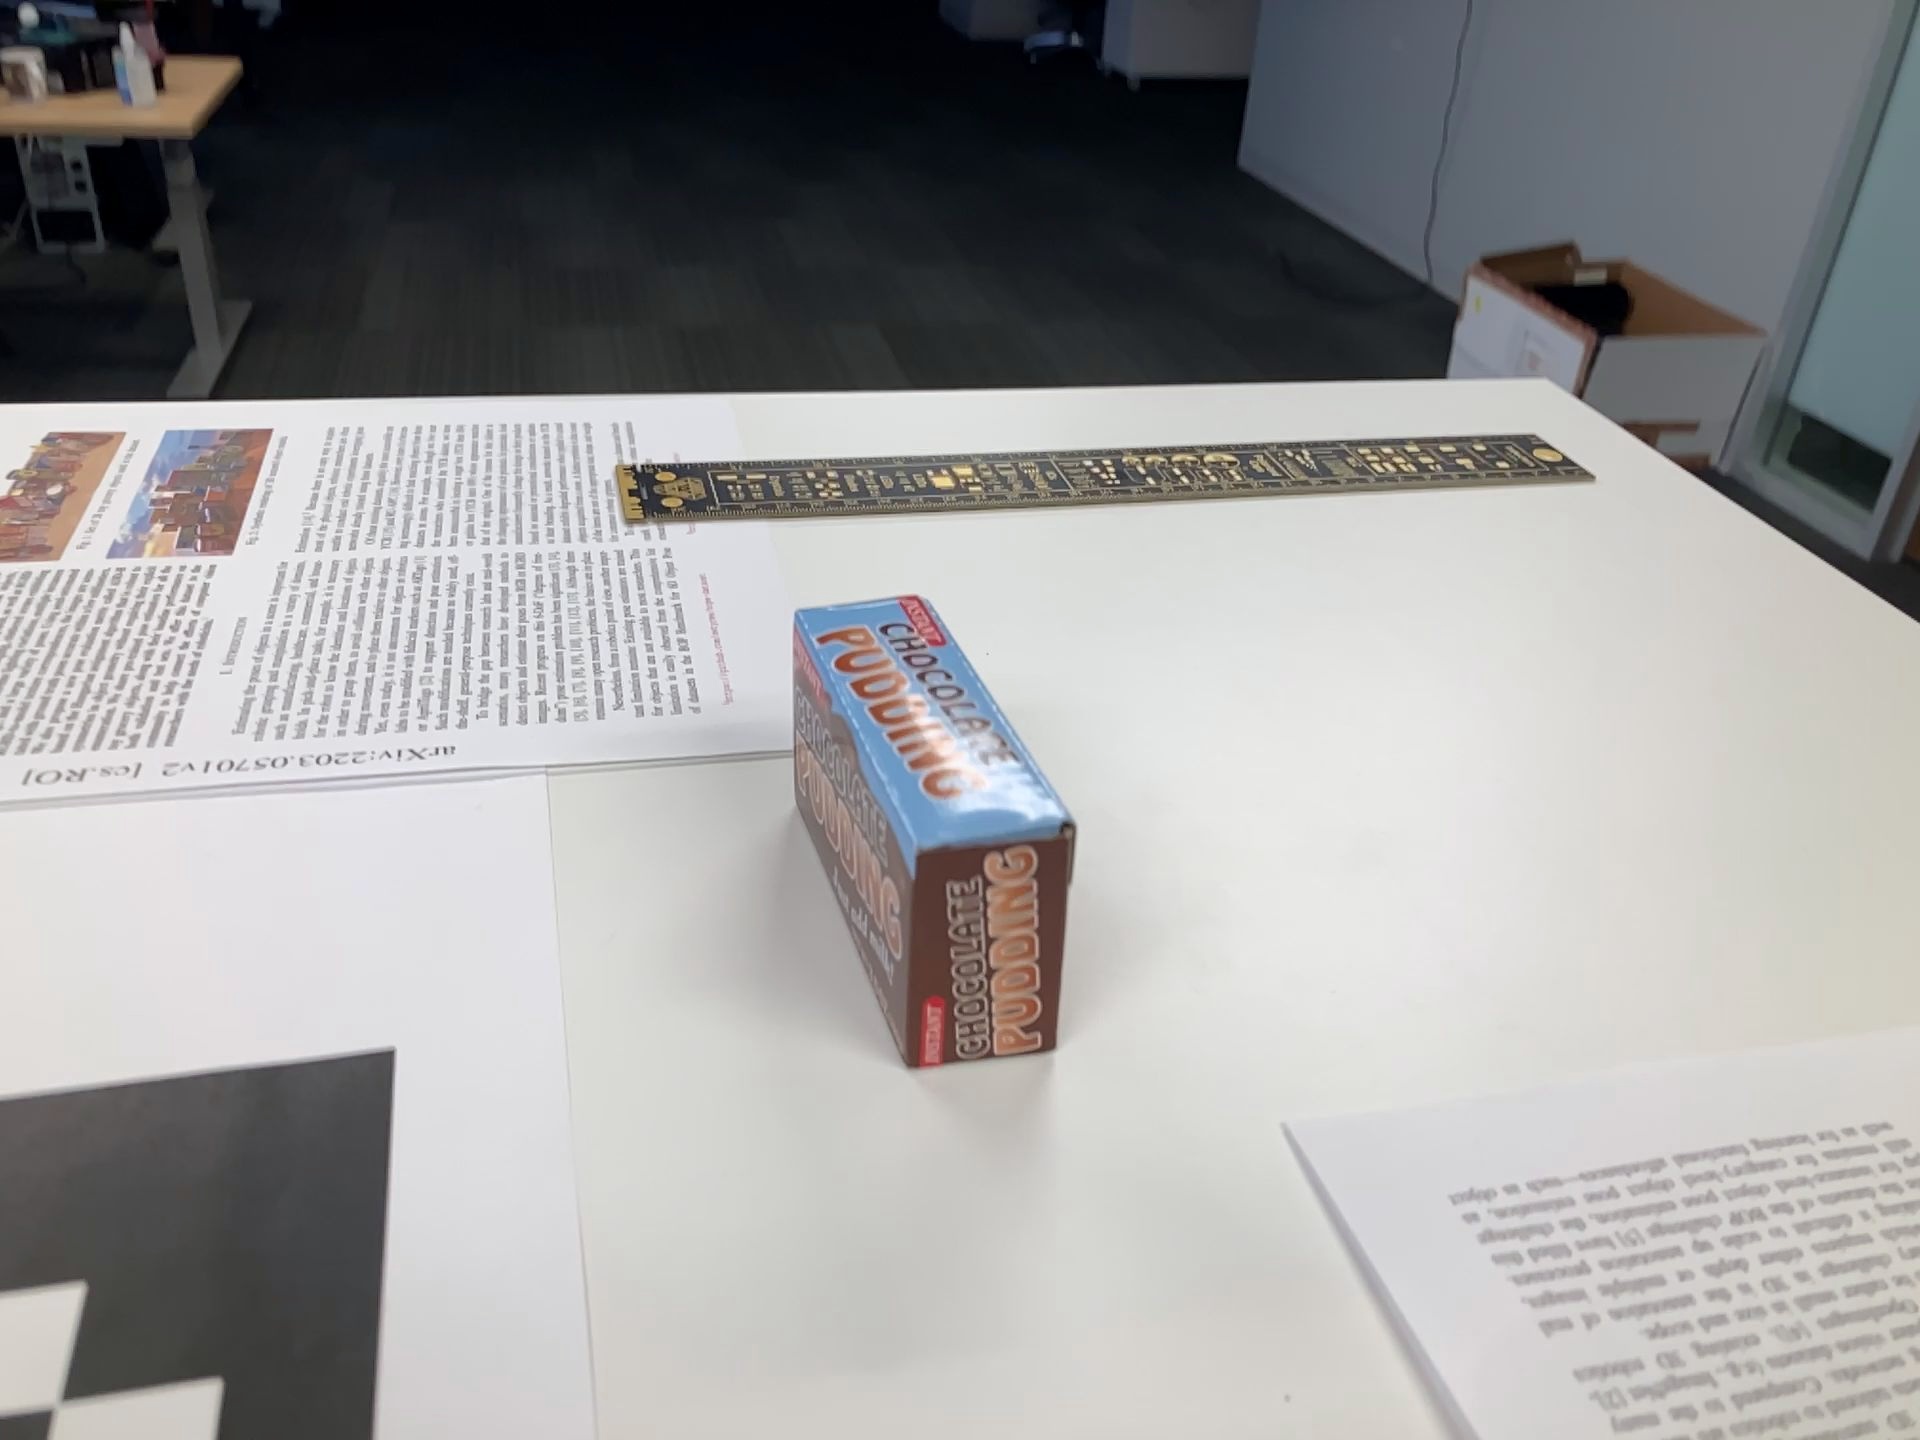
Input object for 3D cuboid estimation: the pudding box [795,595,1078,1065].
[{"bbox_3d":[-0.008,0.017,0.296,0.030,0.049,0.083,-8,35,-17],"label":"pudding box"}]
